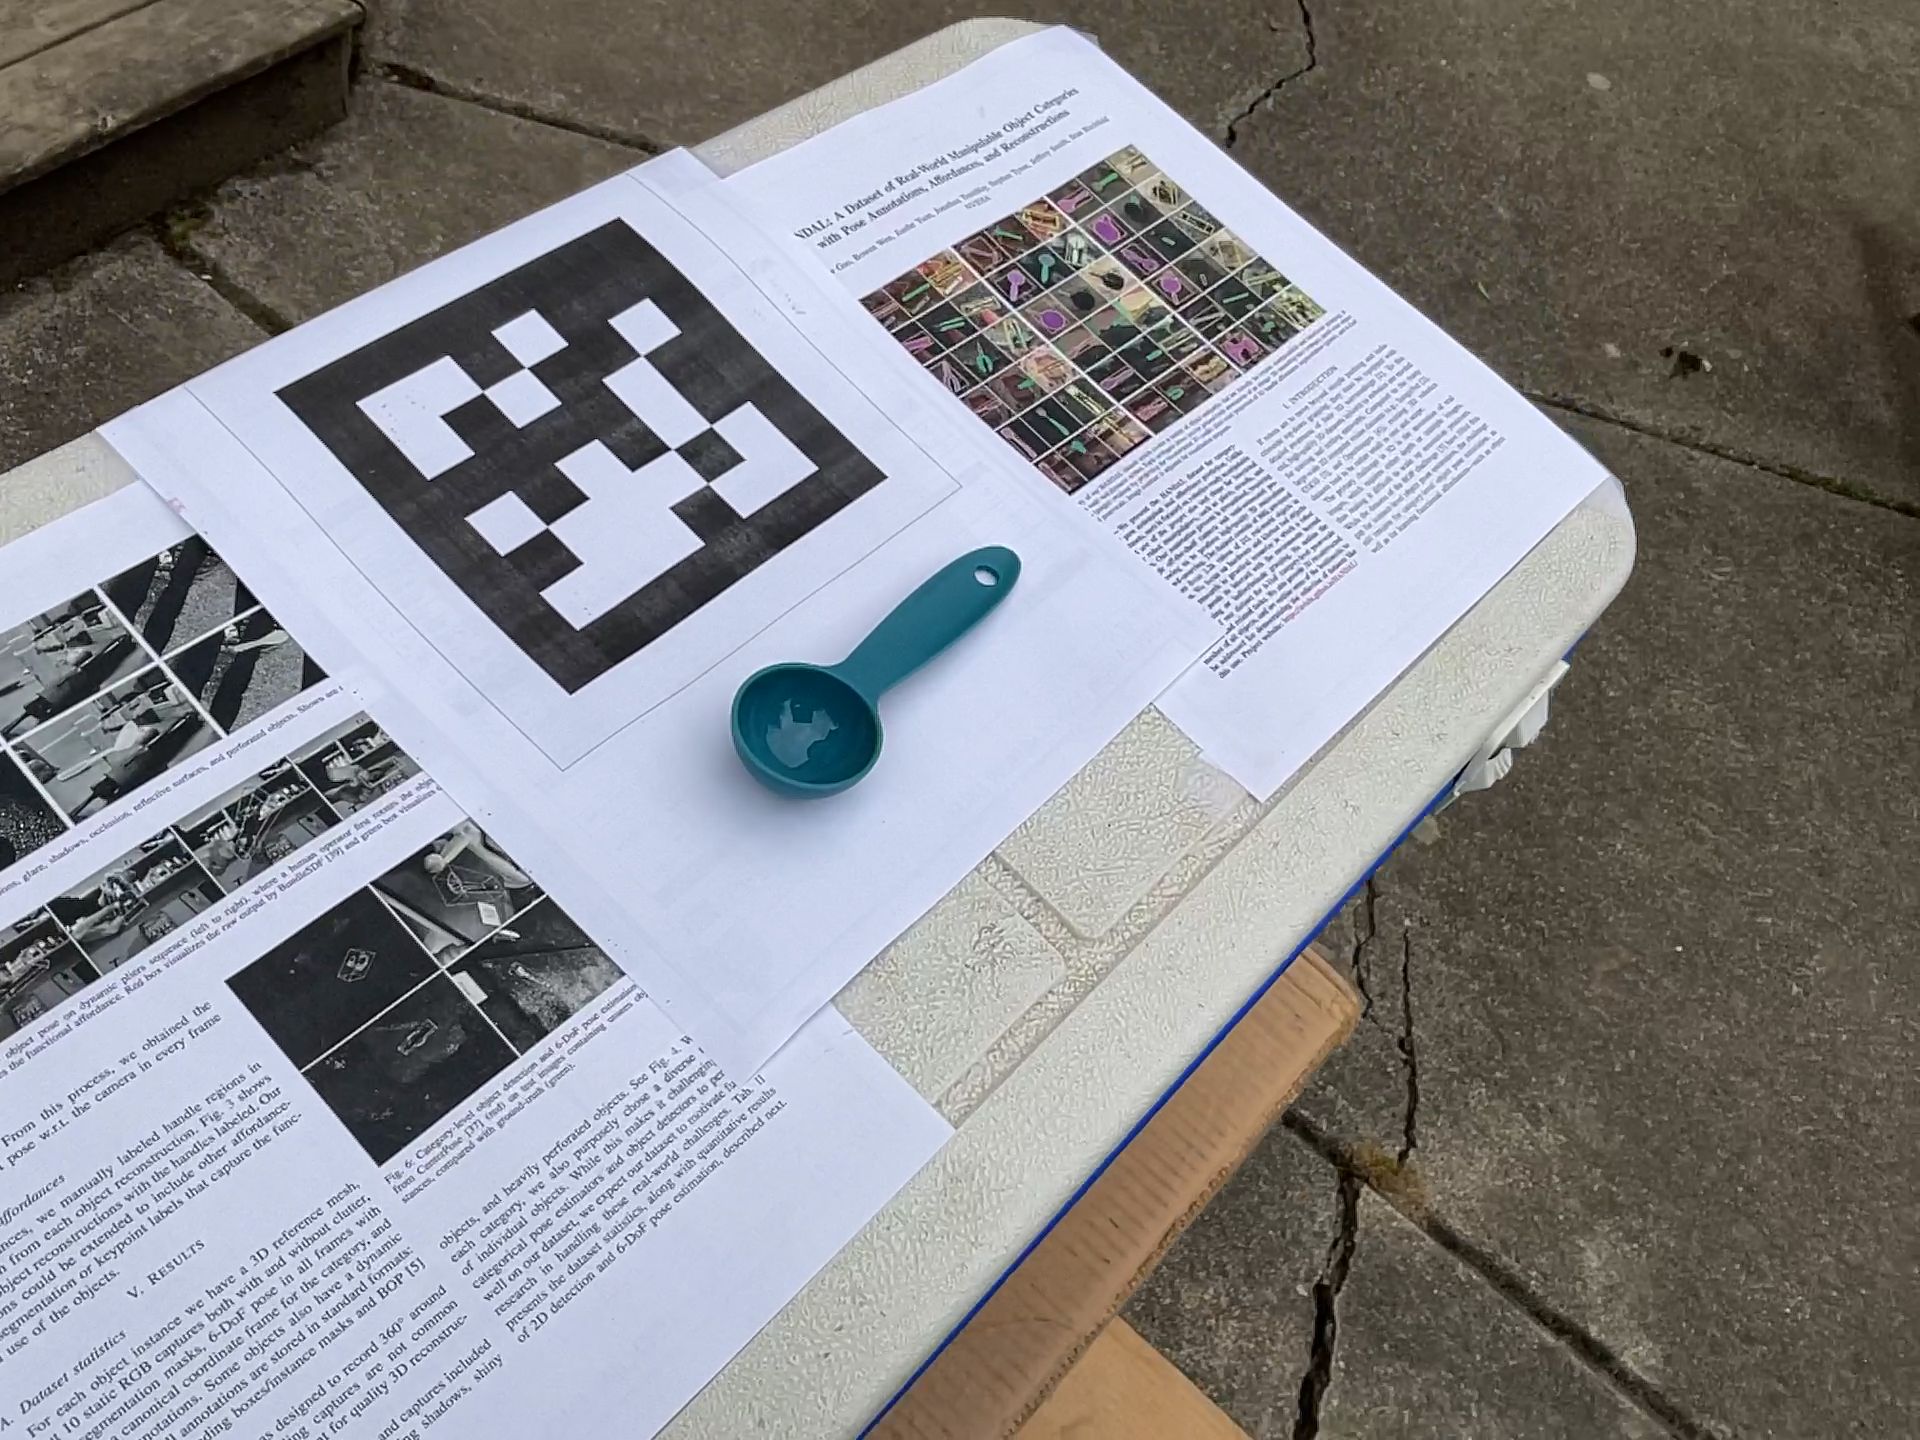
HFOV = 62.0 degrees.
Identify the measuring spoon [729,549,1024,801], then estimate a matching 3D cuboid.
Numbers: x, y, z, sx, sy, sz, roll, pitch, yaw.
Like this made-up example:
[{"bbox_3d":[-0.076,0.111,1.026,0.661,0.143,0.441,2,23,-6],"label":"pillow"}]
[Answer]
[{"bbox_3d":[-0.021,-0.015,0.470,0.042,0.021,0.129,40,48,9],"label":"measuring spoon"}]
